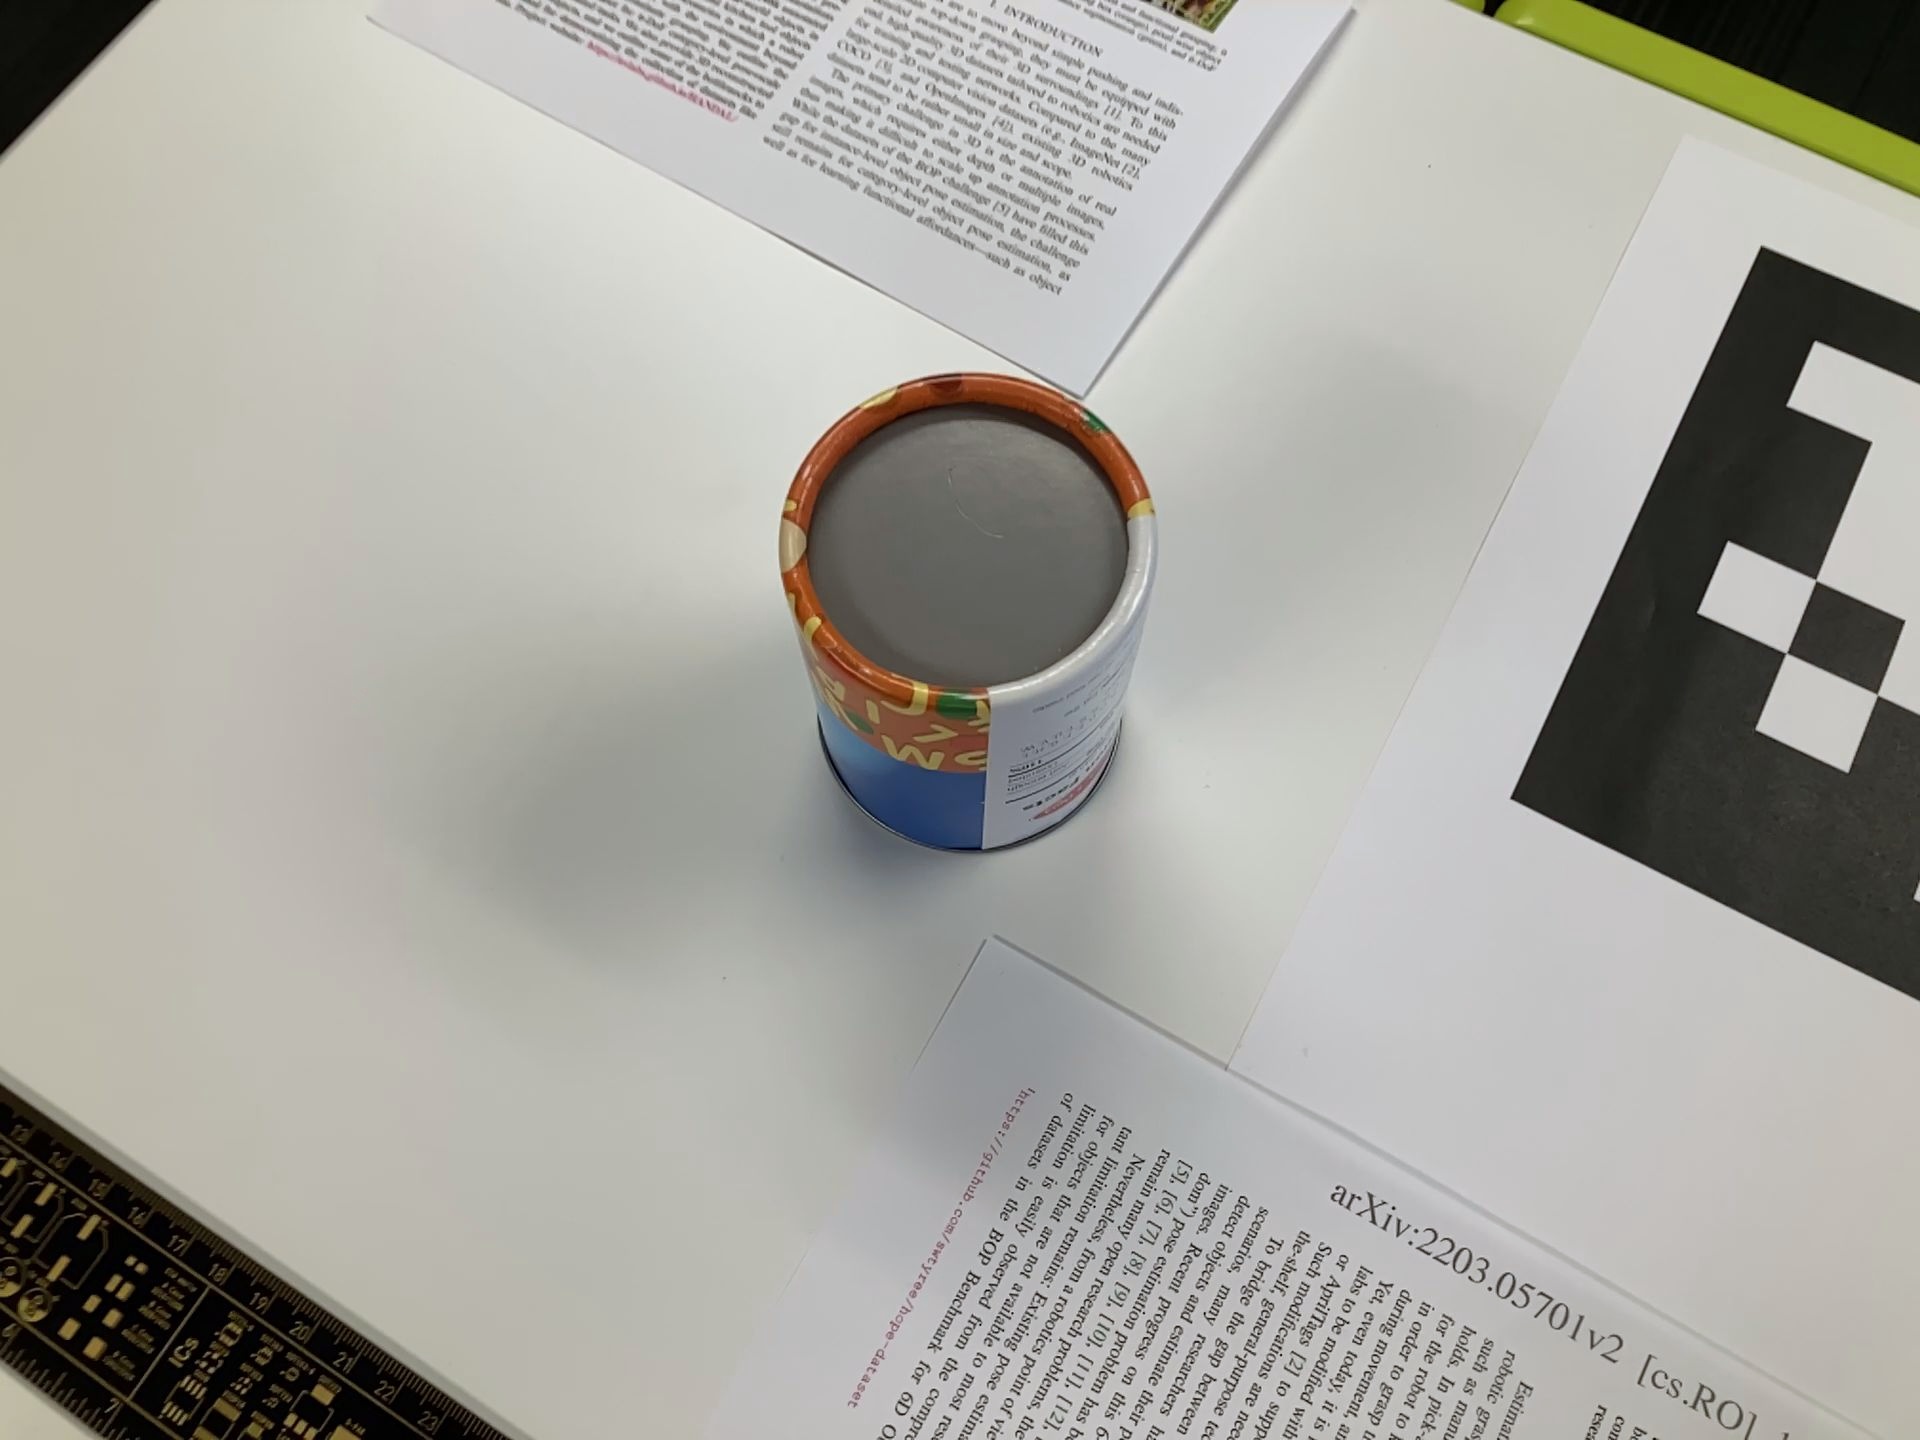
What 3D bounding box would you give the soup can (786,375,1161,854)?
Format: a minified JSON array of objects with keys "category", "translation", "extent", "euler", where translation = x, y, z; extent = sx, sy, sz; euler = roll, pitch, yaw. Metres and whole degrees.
[{"category":"soup can","translation":[0.000,-0.019,0.311],"extent":[0.071,0.084,0.071],"euler":[0,68,0]}]
